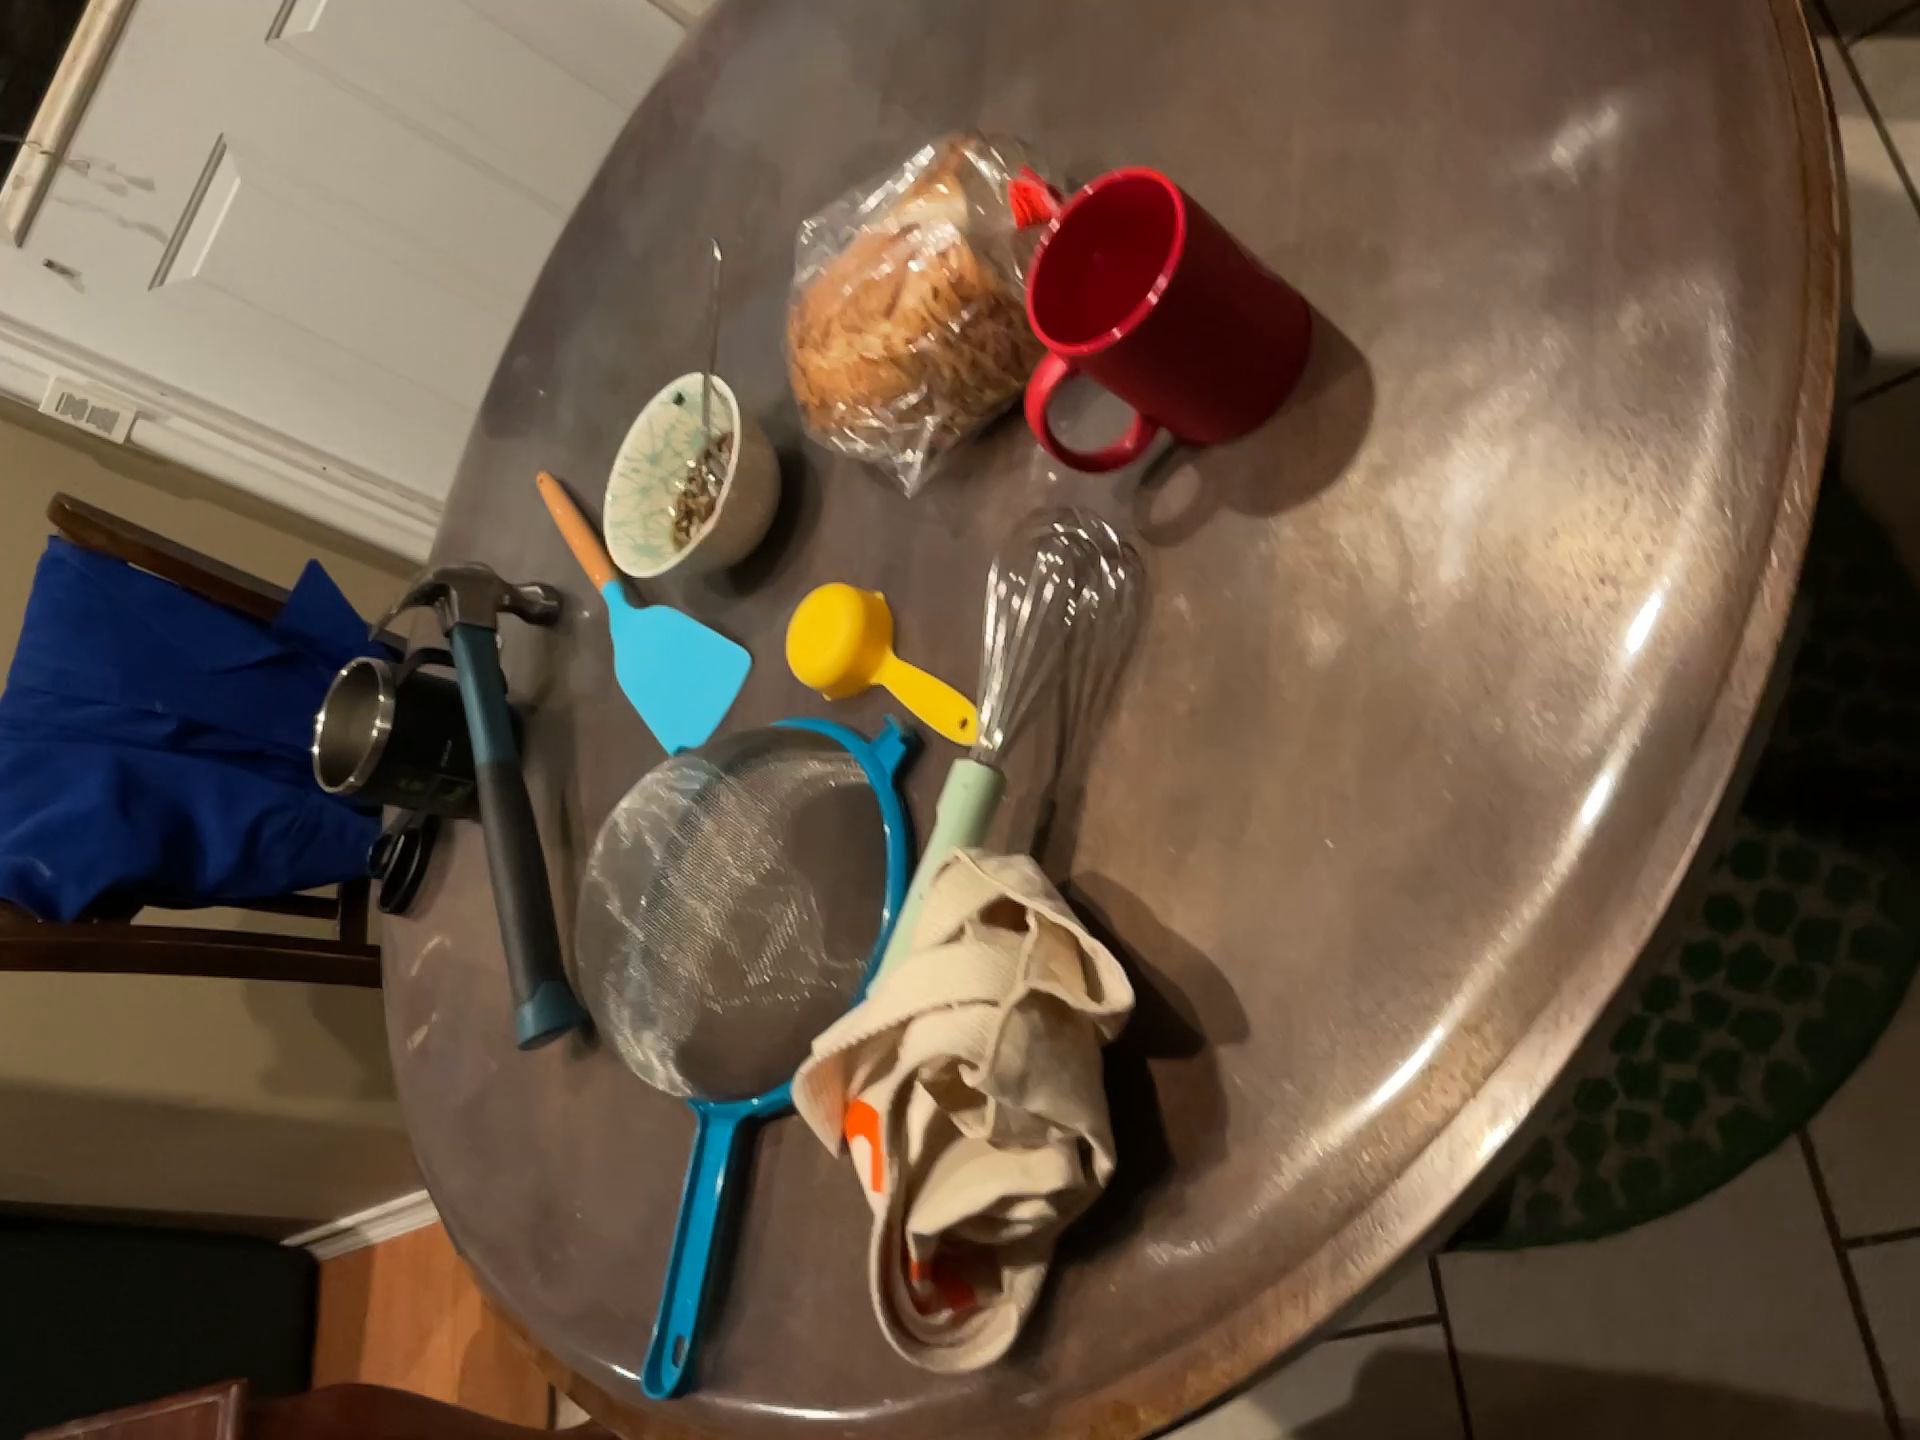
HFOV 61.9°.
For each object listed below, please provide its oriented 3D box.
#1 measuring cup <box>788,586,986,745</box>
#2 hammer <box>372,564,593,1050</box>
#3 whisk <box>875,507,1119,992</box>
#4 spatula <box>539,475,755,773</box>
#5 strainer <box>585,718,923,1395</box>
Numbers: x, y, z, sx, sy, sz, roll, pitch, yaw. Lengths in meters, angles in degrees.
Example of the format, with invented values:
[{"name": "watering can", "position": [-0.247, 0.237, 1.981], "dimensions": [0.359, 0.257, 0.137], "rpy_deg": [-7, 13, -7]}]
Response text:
[{"name": "measuring cup", "position": [-0.039, -0.025, 0.808], "dimensions": [0.156, 0.029, 0.062], "rpy_deg": [34, 99, 48]}, {"name": "hammer", "position": [-0.277, 0.043, 0.982], "dimensions": [0.033, 0.128, 0.331], "rpy_deg": [-38, 59, 32]}, {"name": "whisk", "position": [0.012, 0.015, 0.705], "dimensions": [0.059, 0.057, 0.246], "rpy_deg": [16, 75, 17]}, {"name": "spatula", "position": [-0.218, -0.085, 1.023], "dimensions": [0.082, 0.044, 0.318], "rpy_deg": [-56, 40, 14]}, {"name": "strainer", "position": [-0.137, 0.148, 0.789], "dimensions": [0.211, 0.095, 0.340], "rpy_deg": [-9, 64, 44]}]
